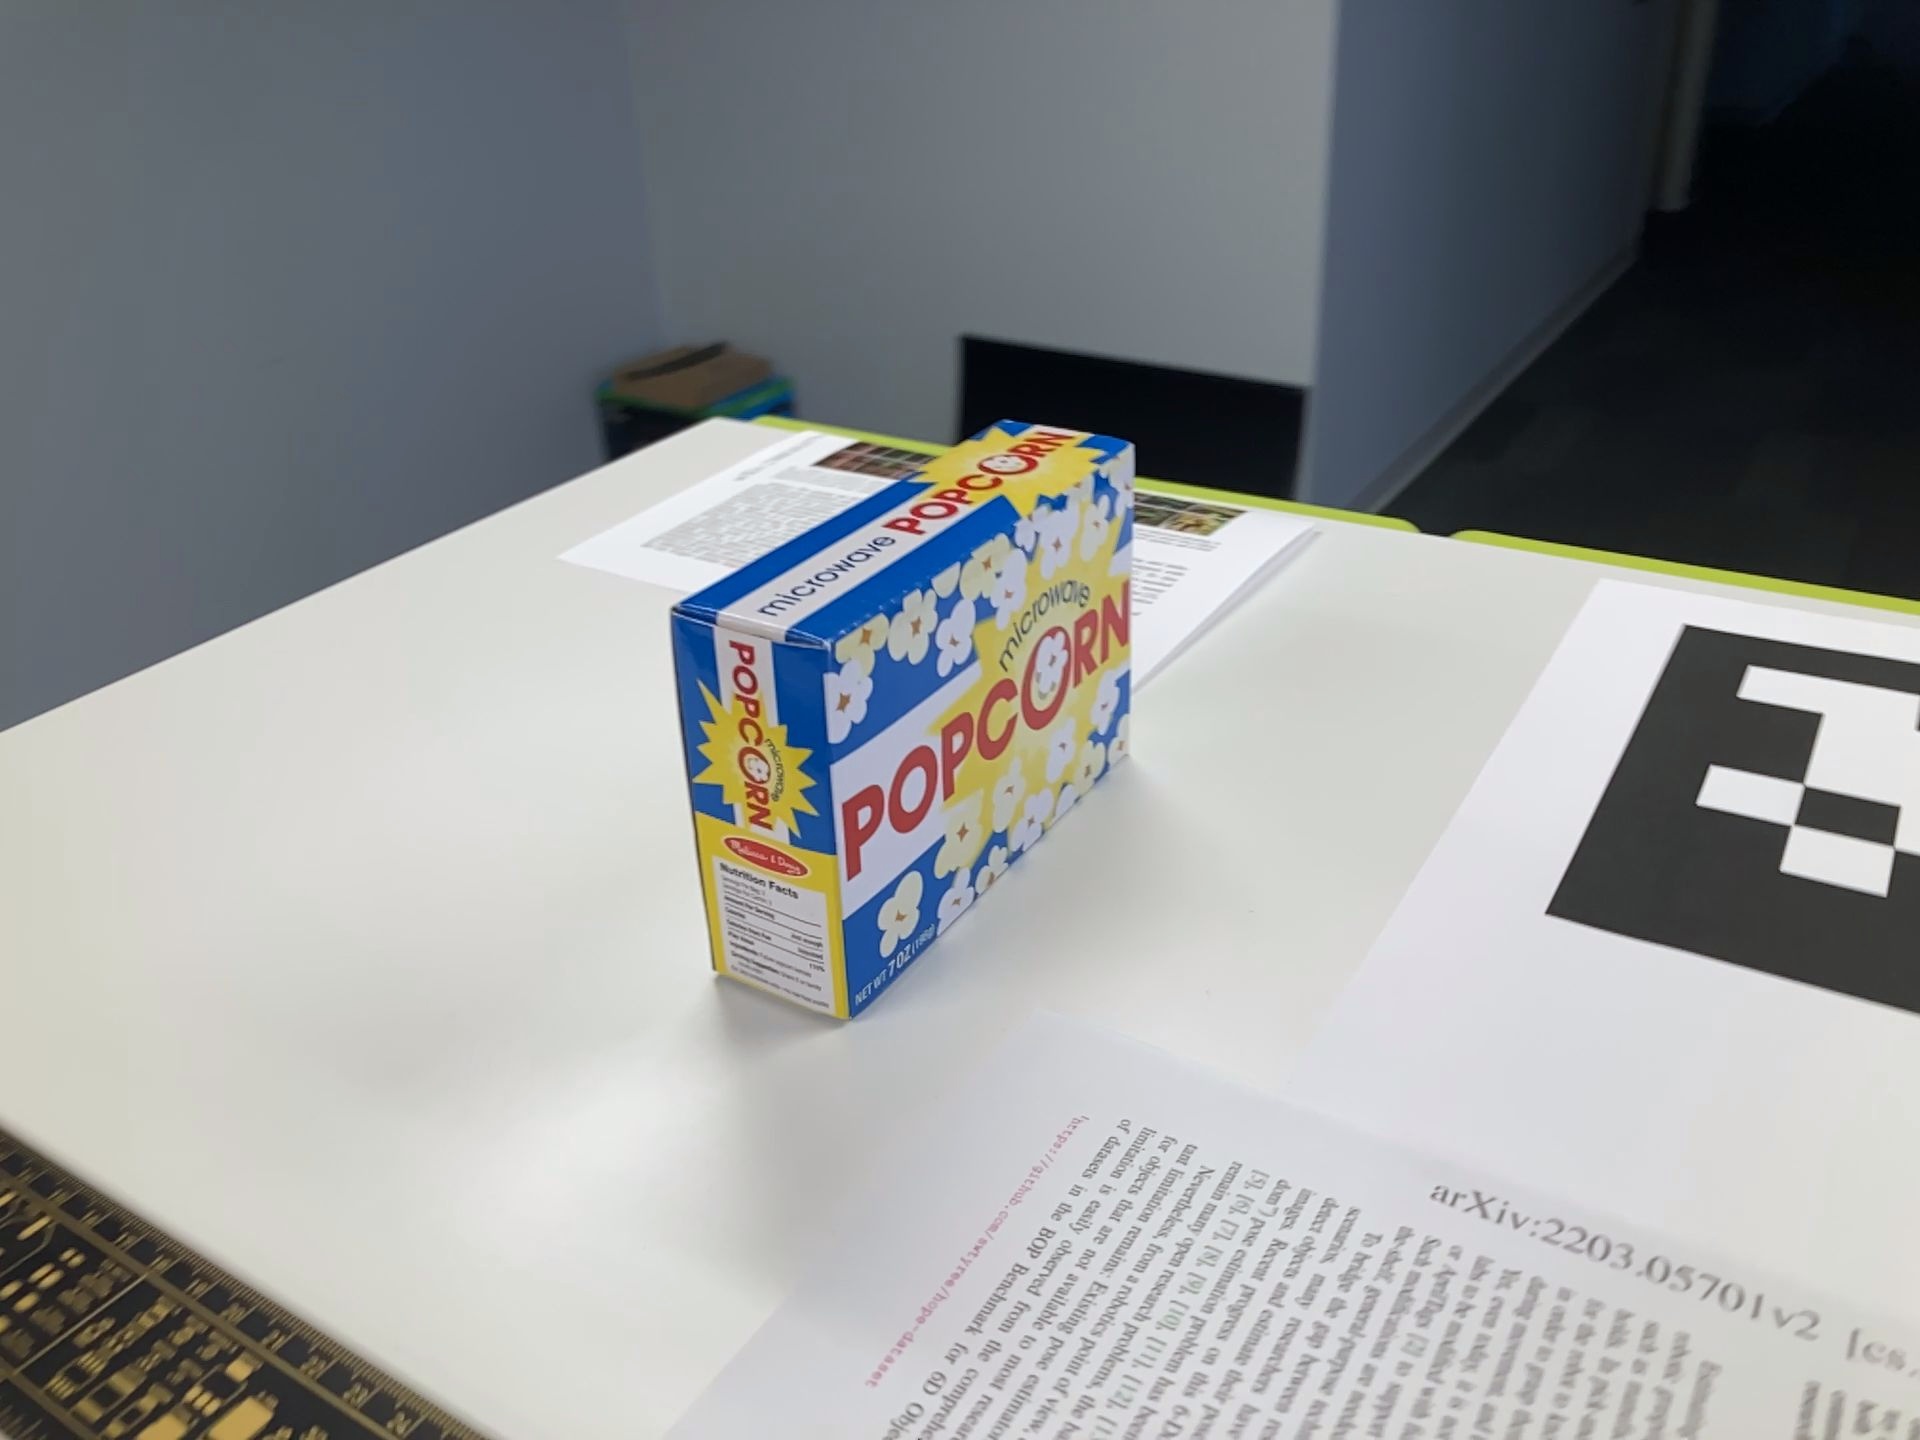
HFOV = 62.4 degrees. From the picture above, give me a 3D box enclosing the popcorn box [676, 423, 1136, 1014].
[{"bbox_3d":[-0.005,-0.006,0.352,0.038,0.085,0.126,14,32,29],"label":"popcorn box"}]
